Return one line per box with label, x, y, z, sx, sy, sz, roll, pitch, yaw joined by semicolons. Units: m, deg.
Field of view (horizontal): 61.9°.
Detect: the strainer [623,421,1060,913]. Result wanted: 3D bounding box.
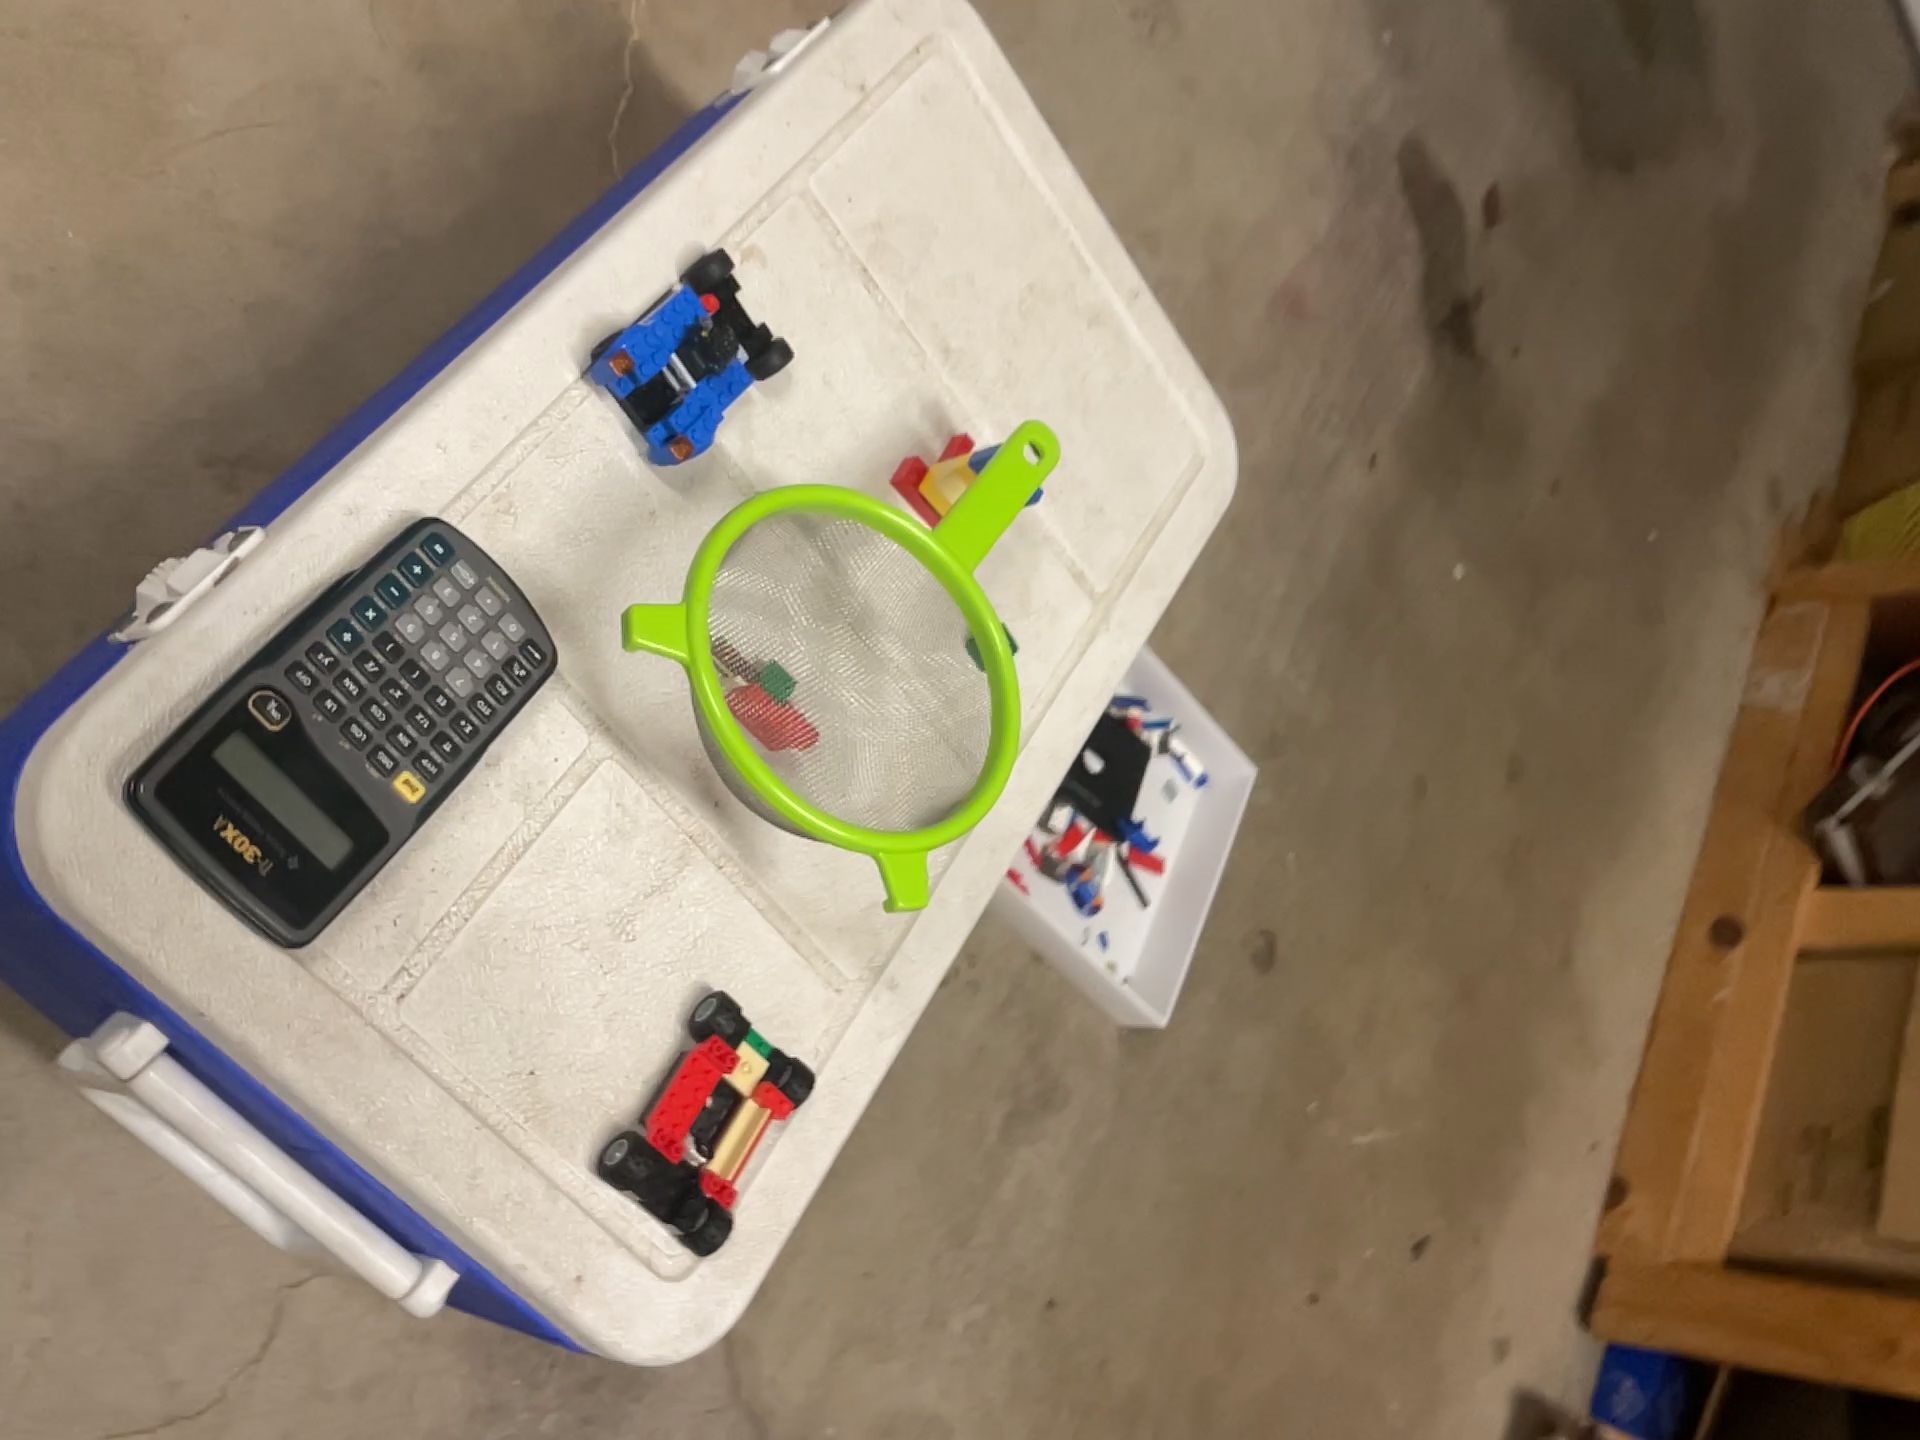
strainer;-0.031;-0.044;0.663;0.151;0.069;0.257;46;46;-12
